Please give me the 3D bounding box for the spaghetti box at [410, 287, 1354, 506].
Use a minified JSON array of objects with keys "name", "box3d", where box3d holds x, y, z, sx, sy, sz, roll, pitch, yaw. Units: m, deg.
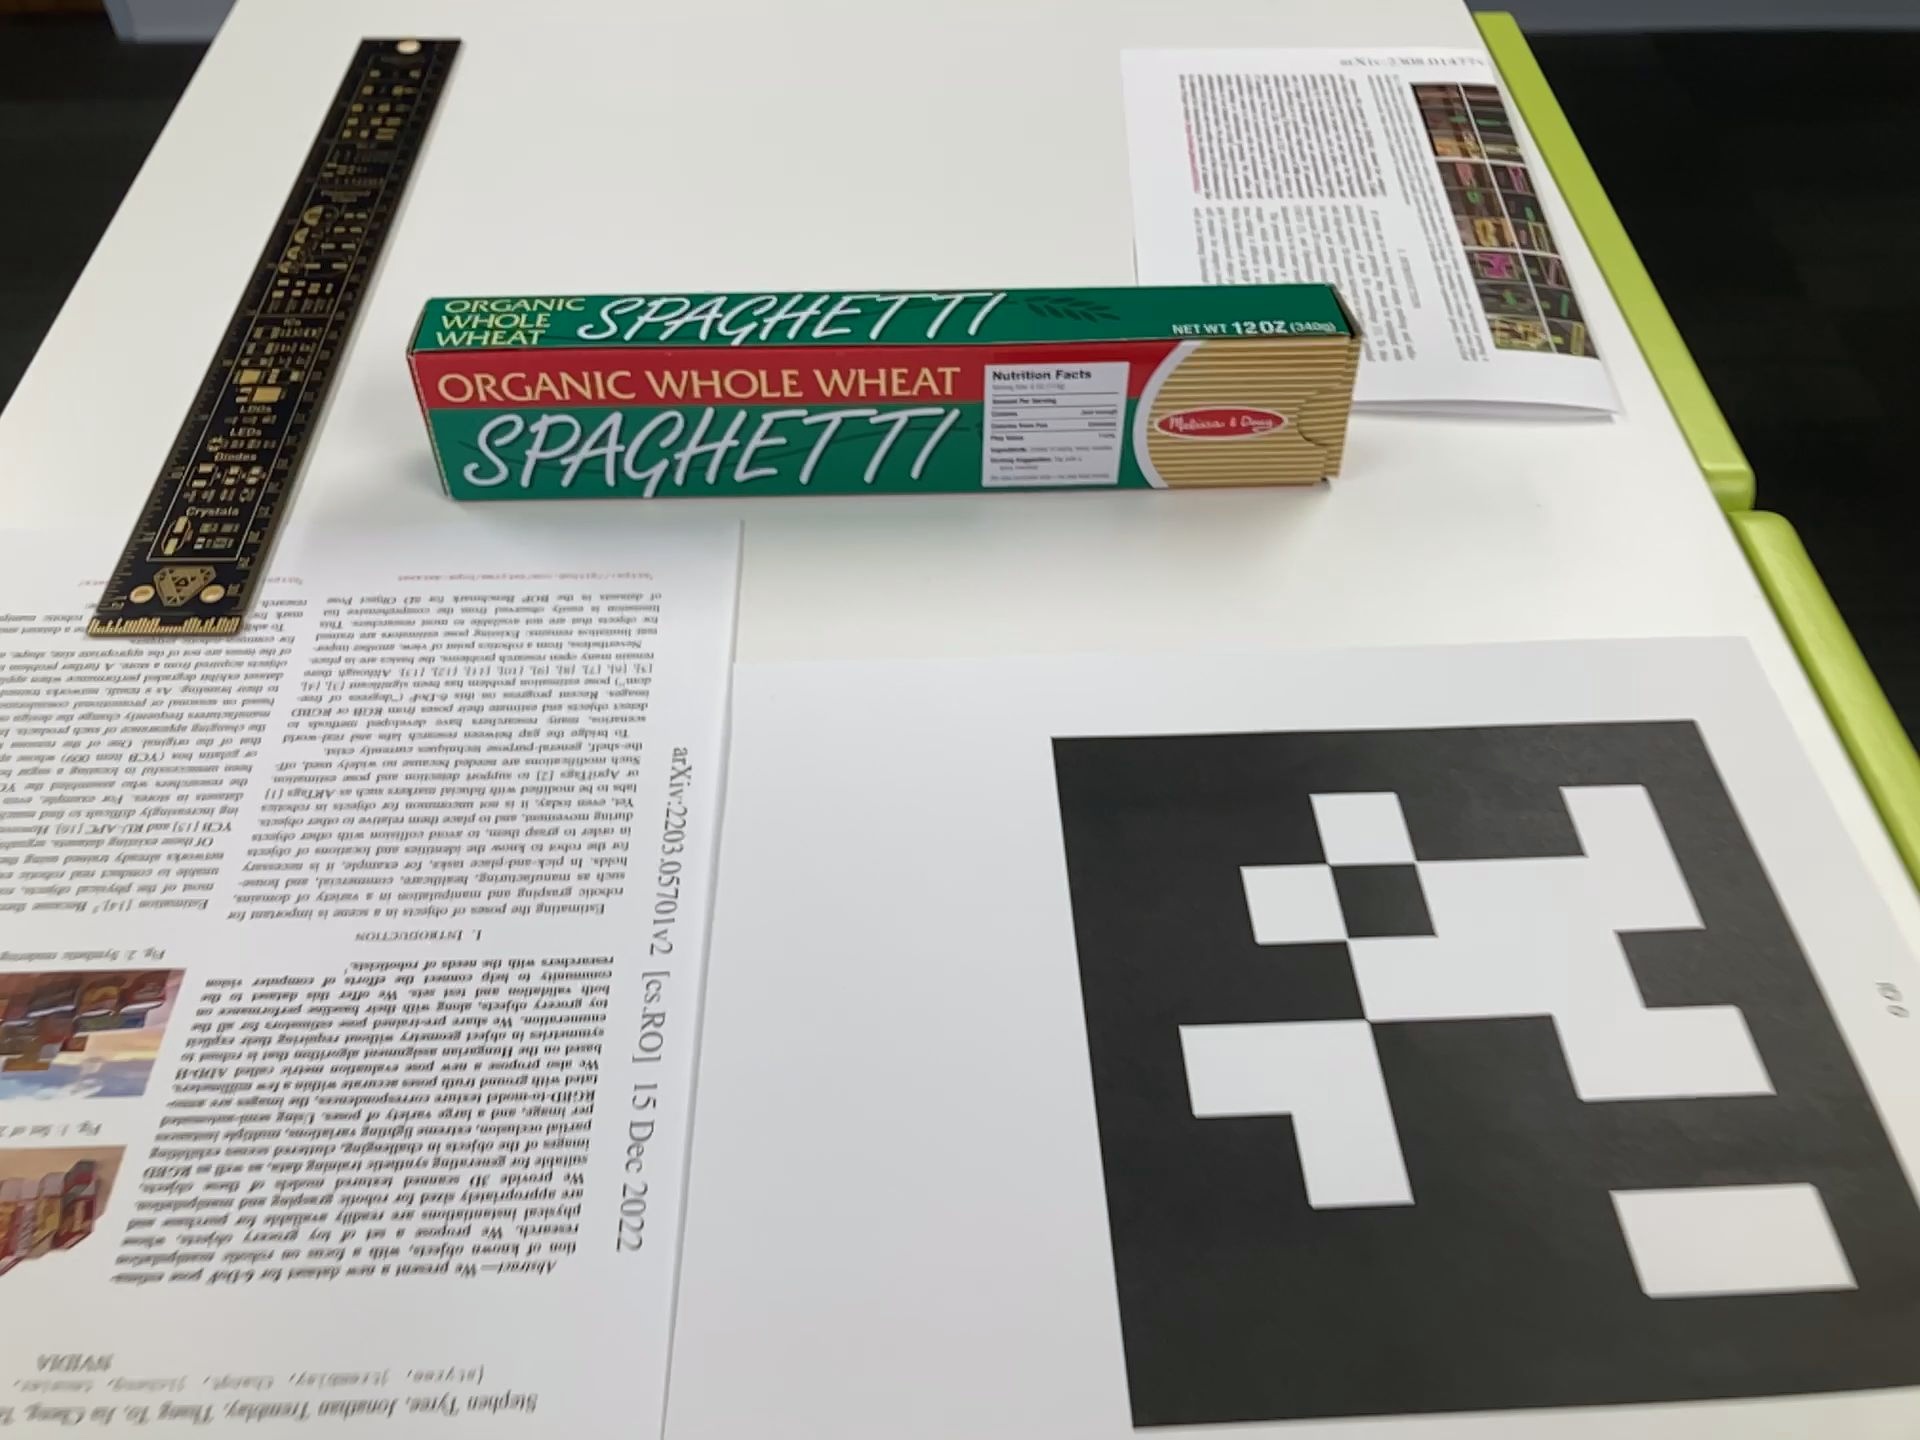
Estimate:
[{"name":"spaghetti box","box3d":[-0.020,-0.090,0.441,0.250,0.050,0.028,-2,45,-2]}]
